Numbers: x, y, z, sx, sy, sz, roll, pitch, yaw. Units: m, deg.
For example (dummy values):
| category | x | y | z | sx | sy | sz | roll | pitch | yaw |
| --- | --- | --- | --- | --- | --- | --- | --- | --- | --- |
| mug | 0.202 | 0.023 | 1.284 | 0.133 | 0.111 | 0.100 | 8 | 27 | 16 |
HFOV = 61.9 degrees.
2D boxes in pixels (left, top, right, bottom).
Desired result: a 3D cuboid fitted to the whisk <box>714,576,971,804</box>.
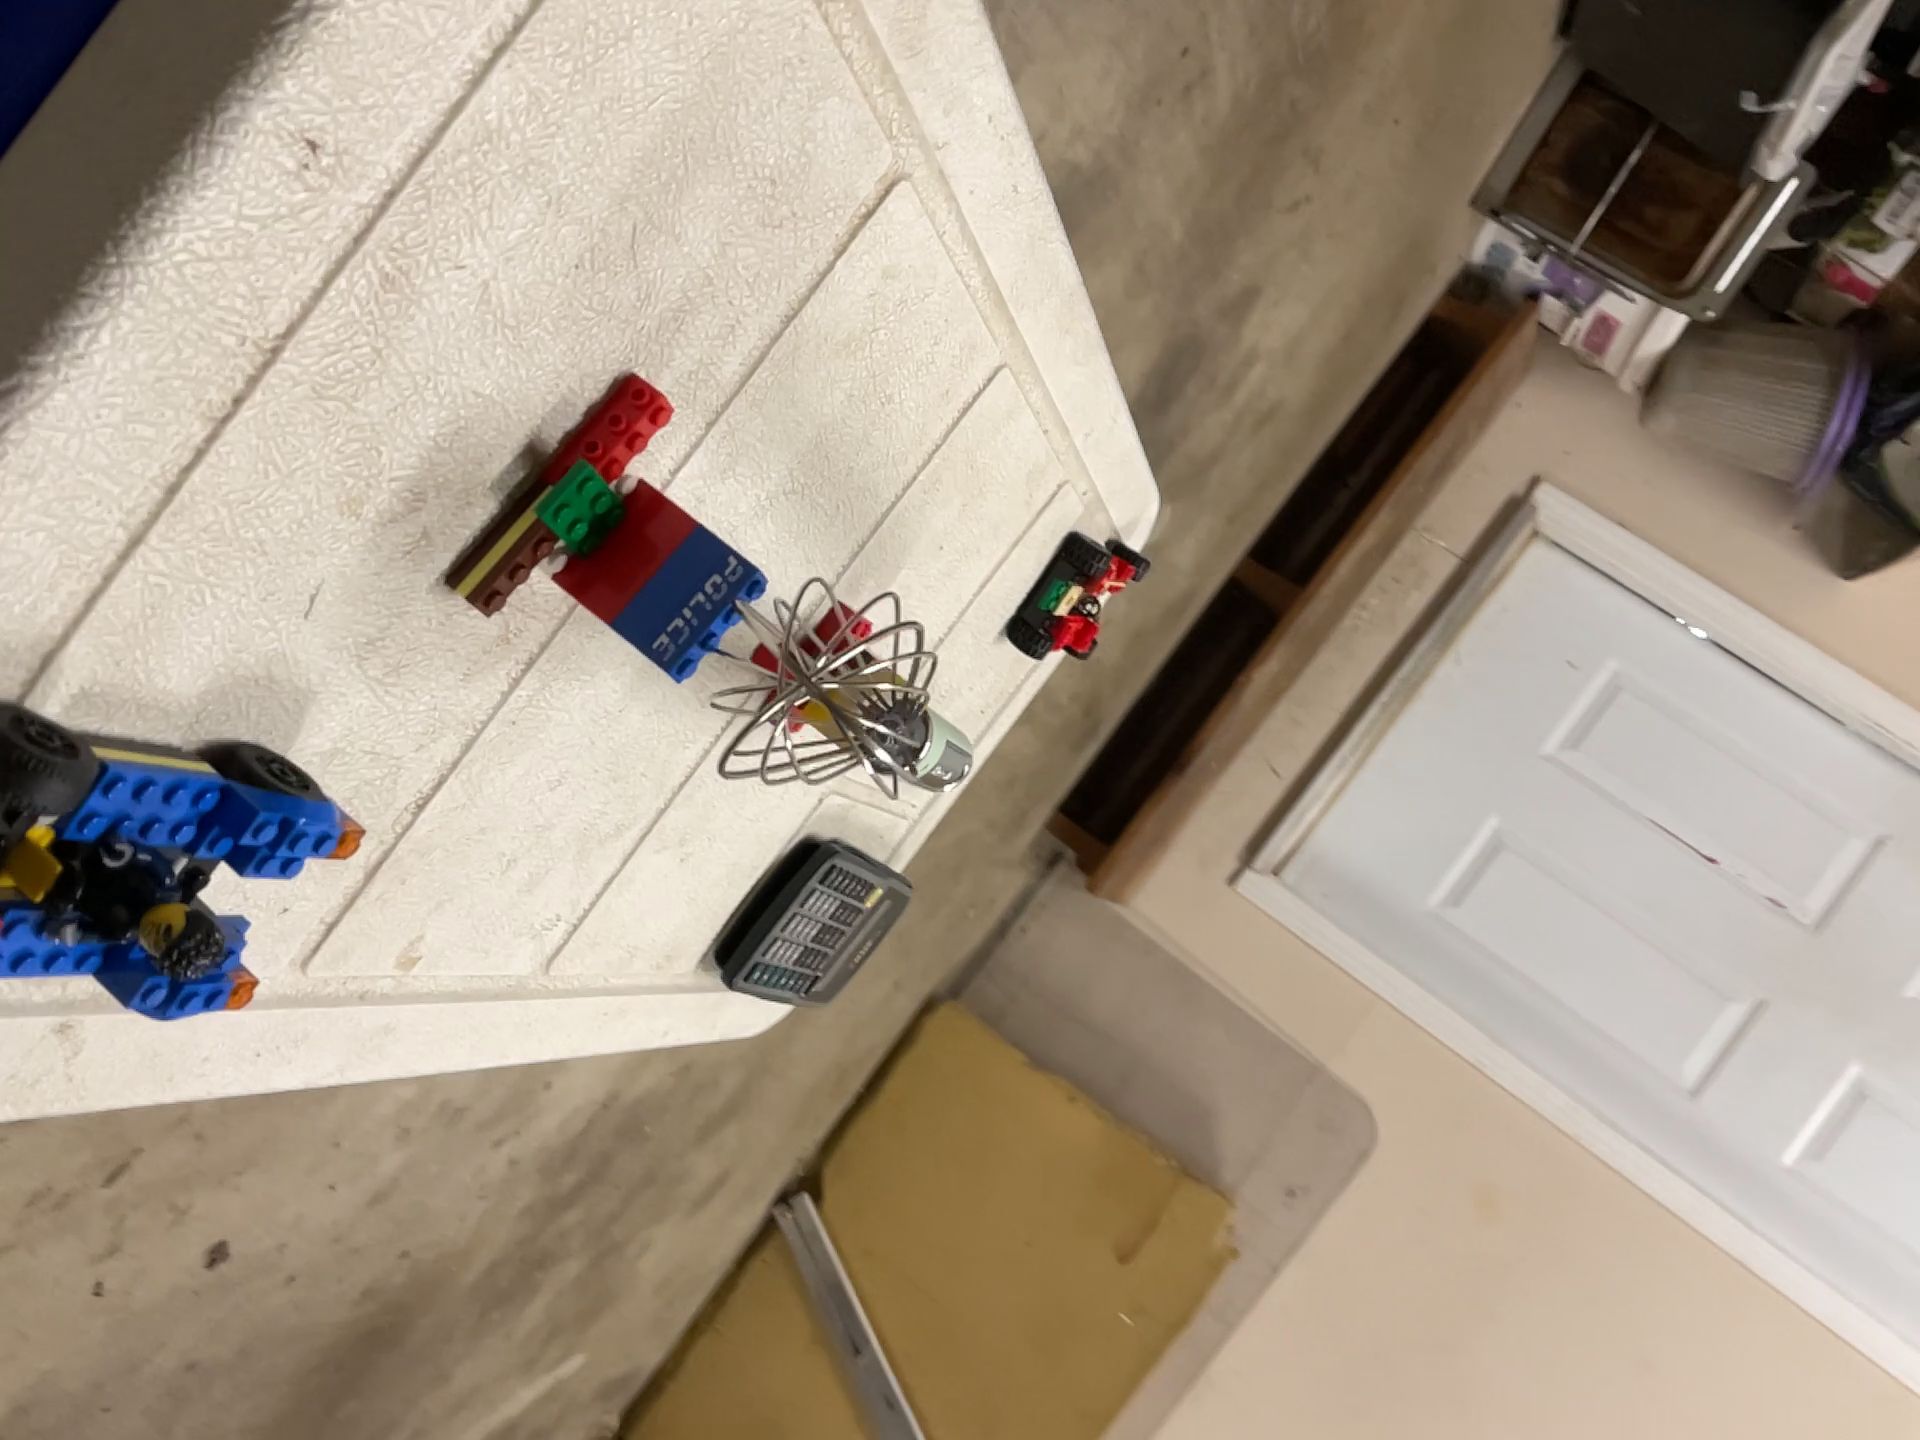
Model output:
| category | x | y | z | sx | sy | sz | roll | pitch | yaw |
| --- | --- | --- | --- | --- | --- | --- | --- | --- | --- |
| whisk | -0.021 | 0.003 | 0.454 | 0.058 | 0.059 | 0.246 | -46 | 171 | 1 |
